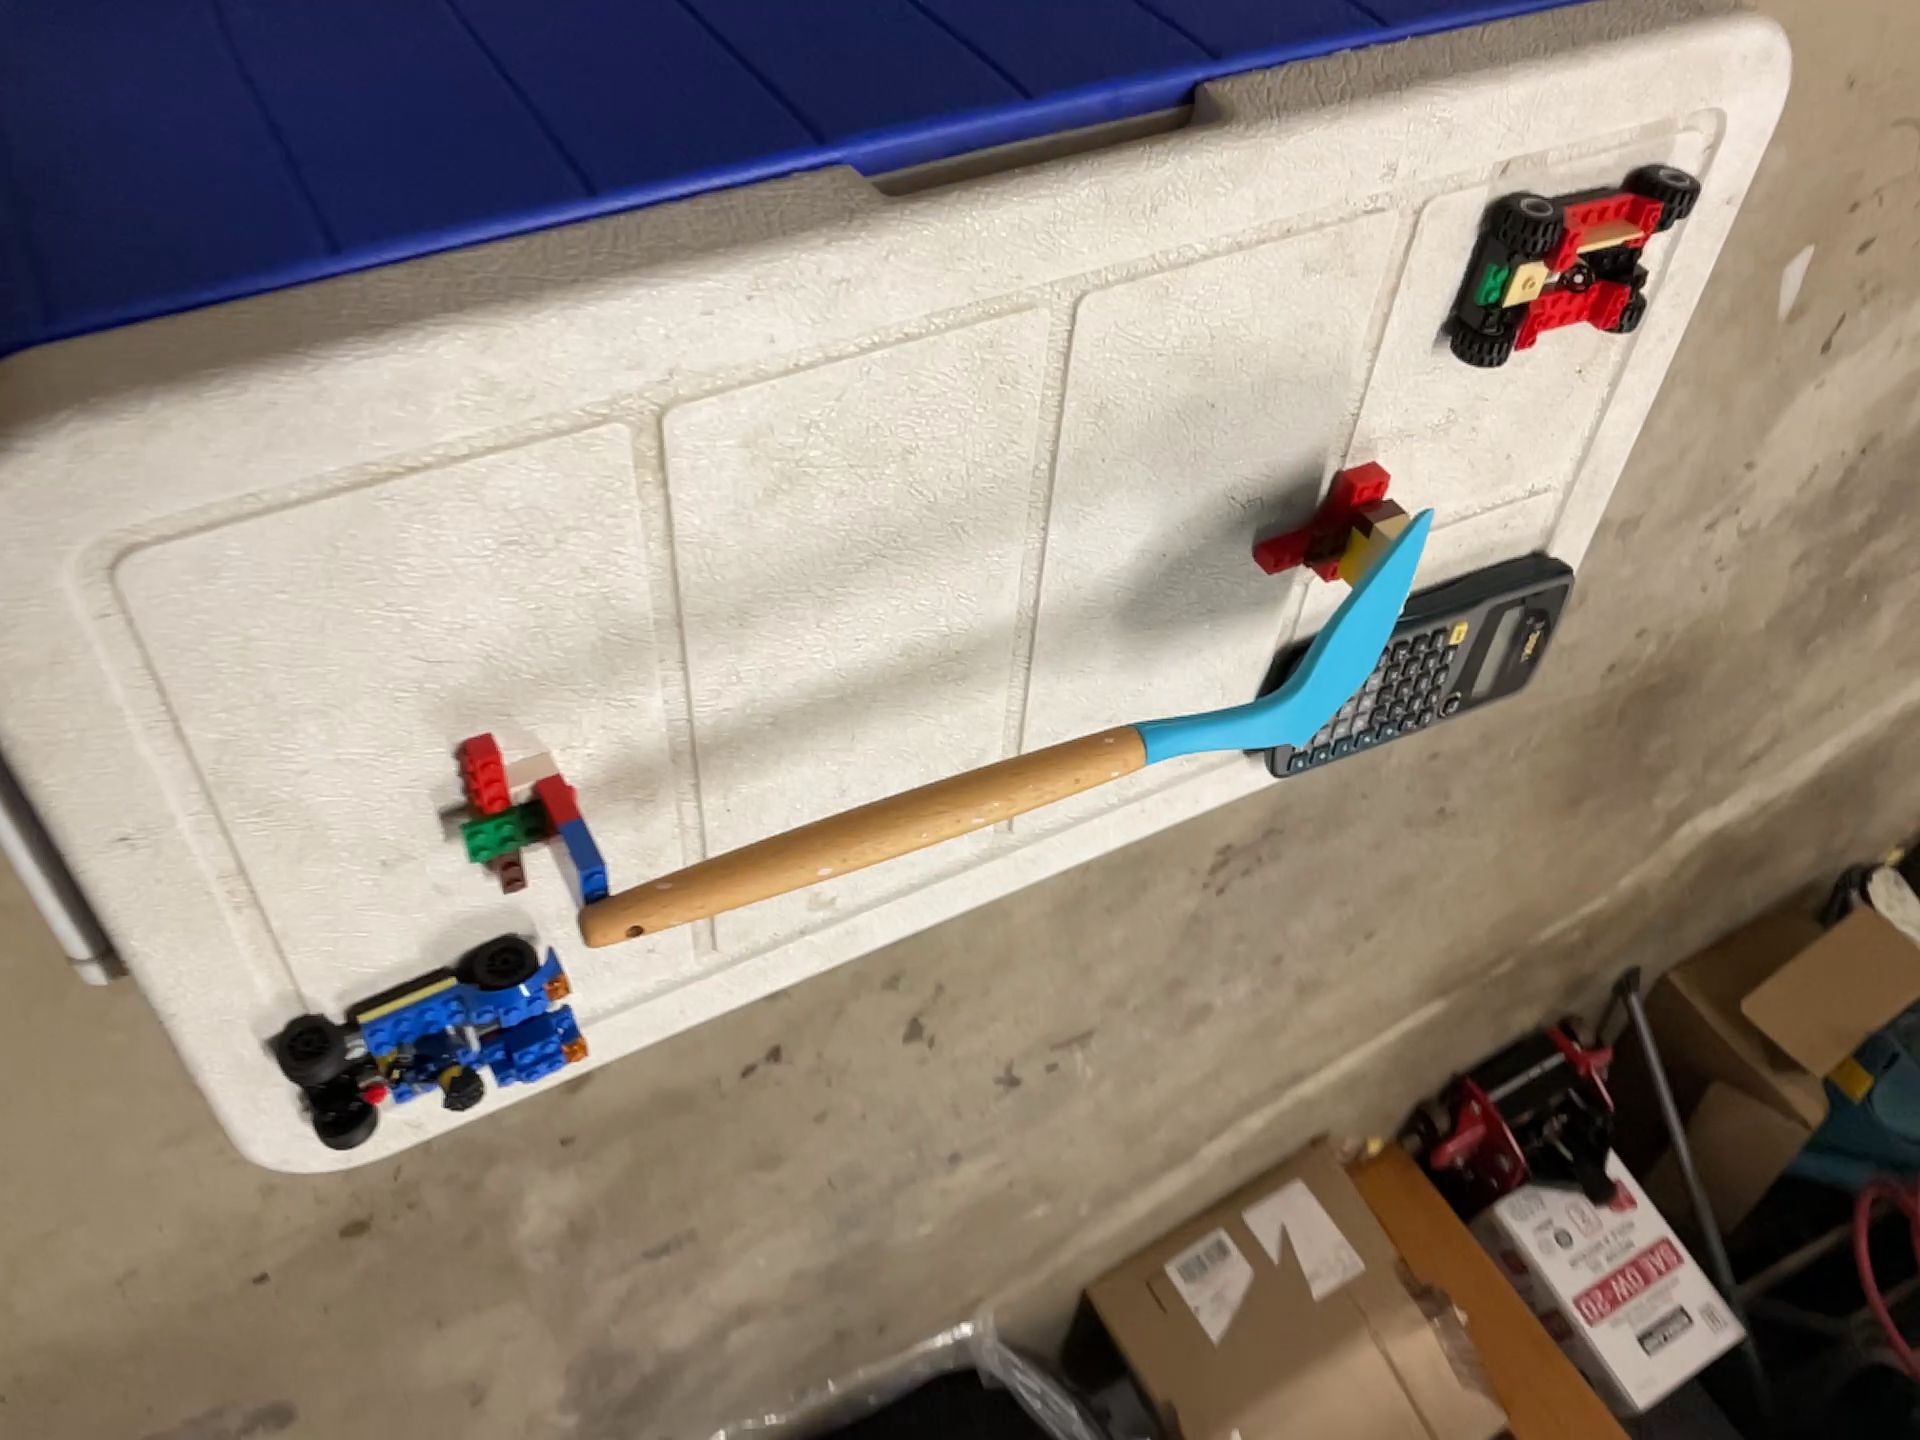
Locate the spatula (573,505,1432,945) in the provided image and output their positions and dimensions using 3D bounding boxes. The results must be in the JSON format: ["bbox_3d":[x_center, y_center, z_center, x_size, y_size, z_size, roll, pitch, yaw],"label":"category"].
[{"bbox_3d":[0.029,0.009,0.520,0.318,0.044,0.082,-17,142,-19],"label":"spatula"}]
